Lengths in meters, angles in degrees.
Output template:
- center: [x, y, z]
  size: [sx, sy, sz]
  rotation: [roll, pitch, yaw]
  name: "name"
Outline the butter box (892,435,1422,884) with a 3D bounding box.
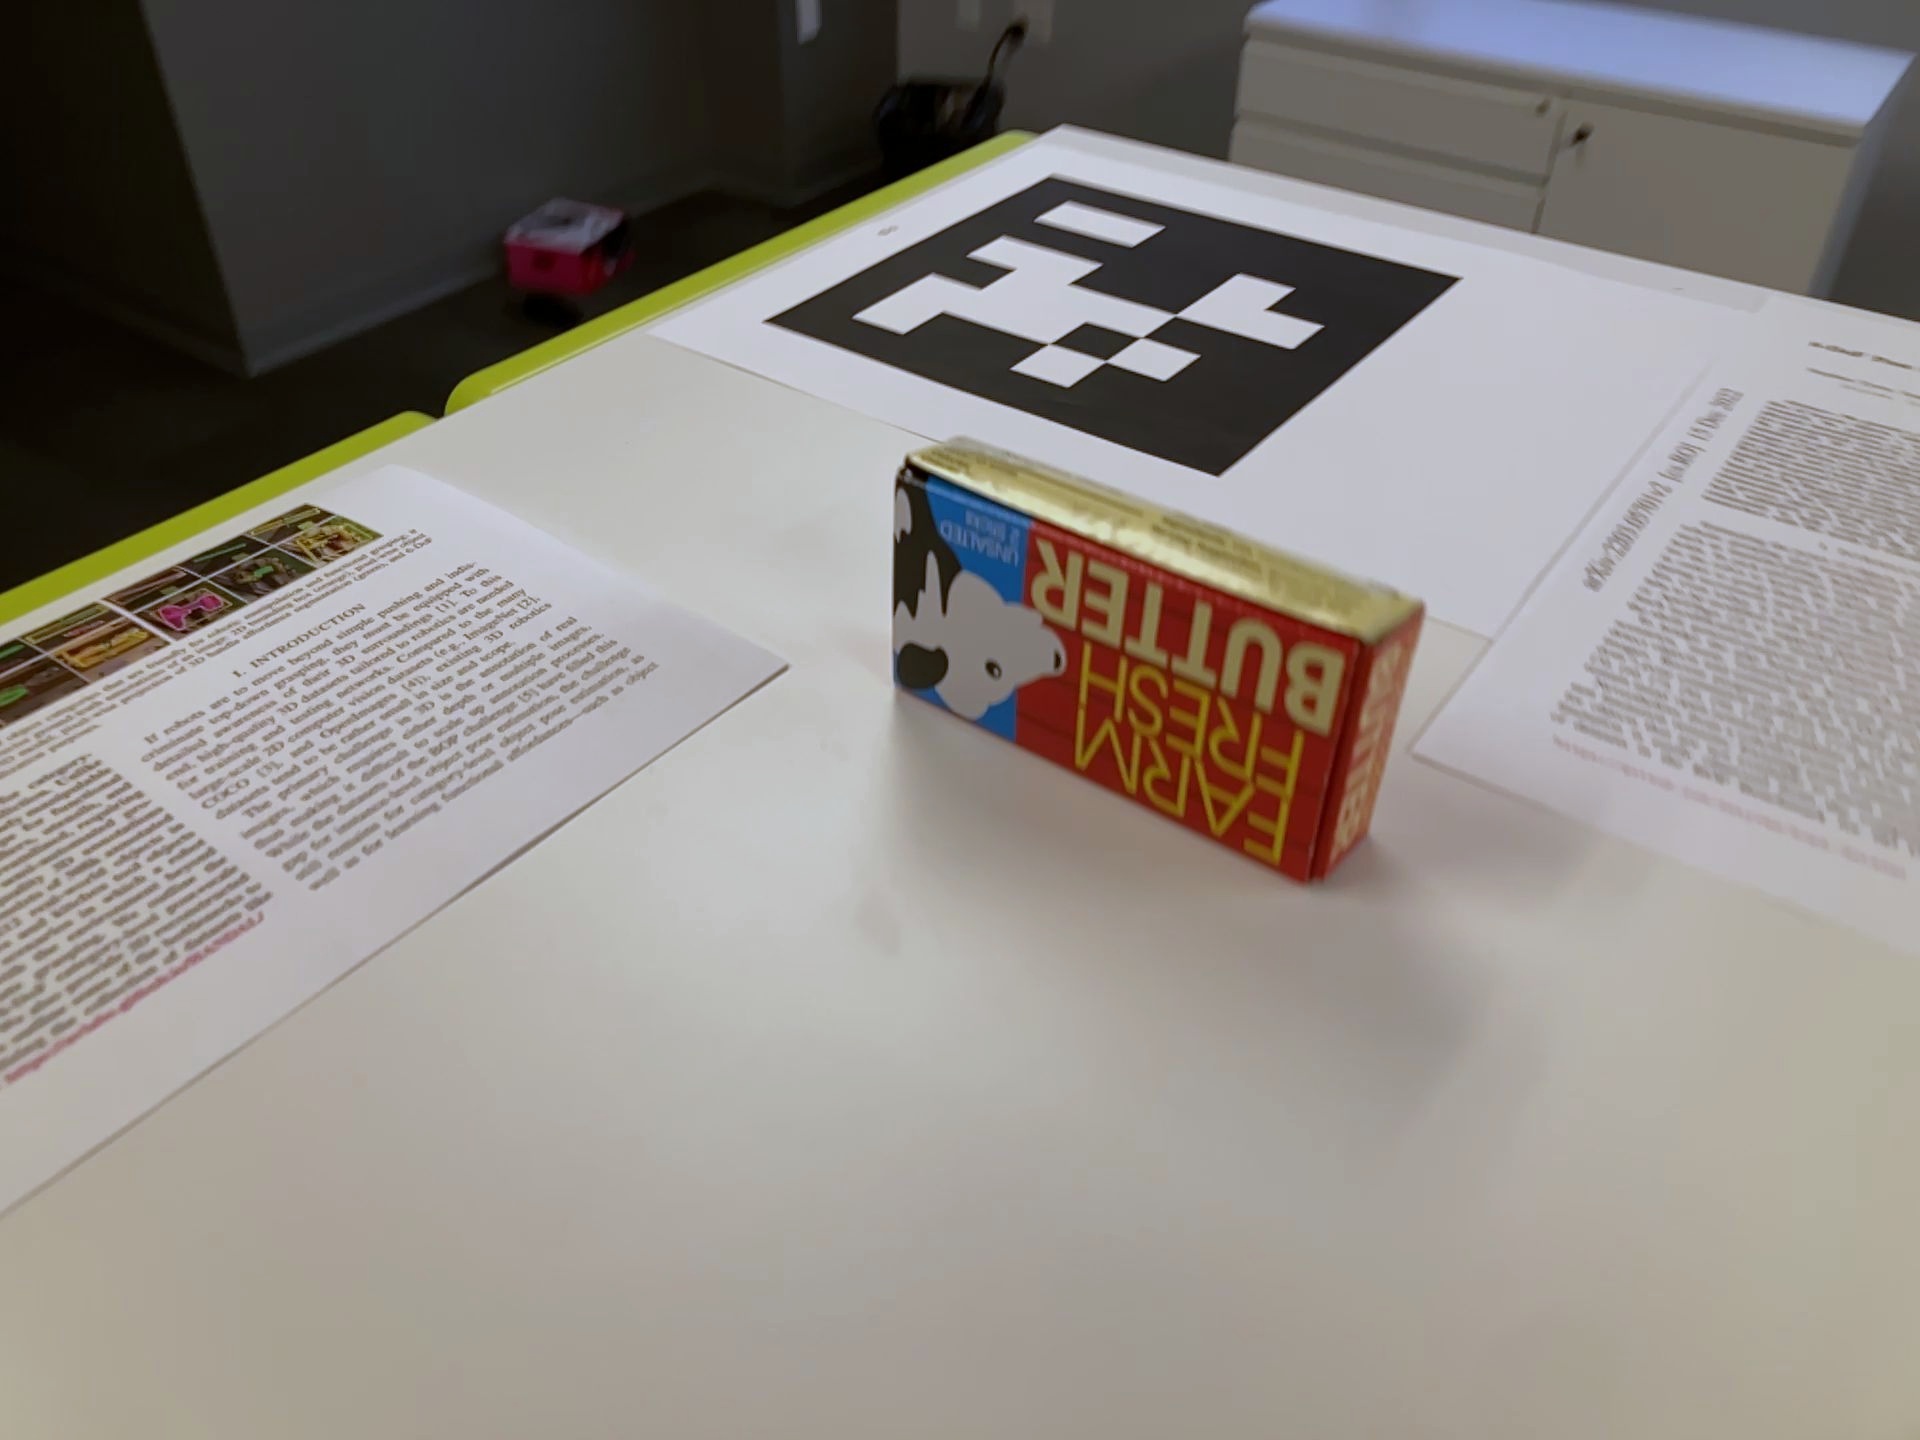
- center: [0.033, -0.014, 0.305]
  size: [0.103, 0.053, 0.024]
  rotation: [25, 41, 28]
  name: "butter box"
